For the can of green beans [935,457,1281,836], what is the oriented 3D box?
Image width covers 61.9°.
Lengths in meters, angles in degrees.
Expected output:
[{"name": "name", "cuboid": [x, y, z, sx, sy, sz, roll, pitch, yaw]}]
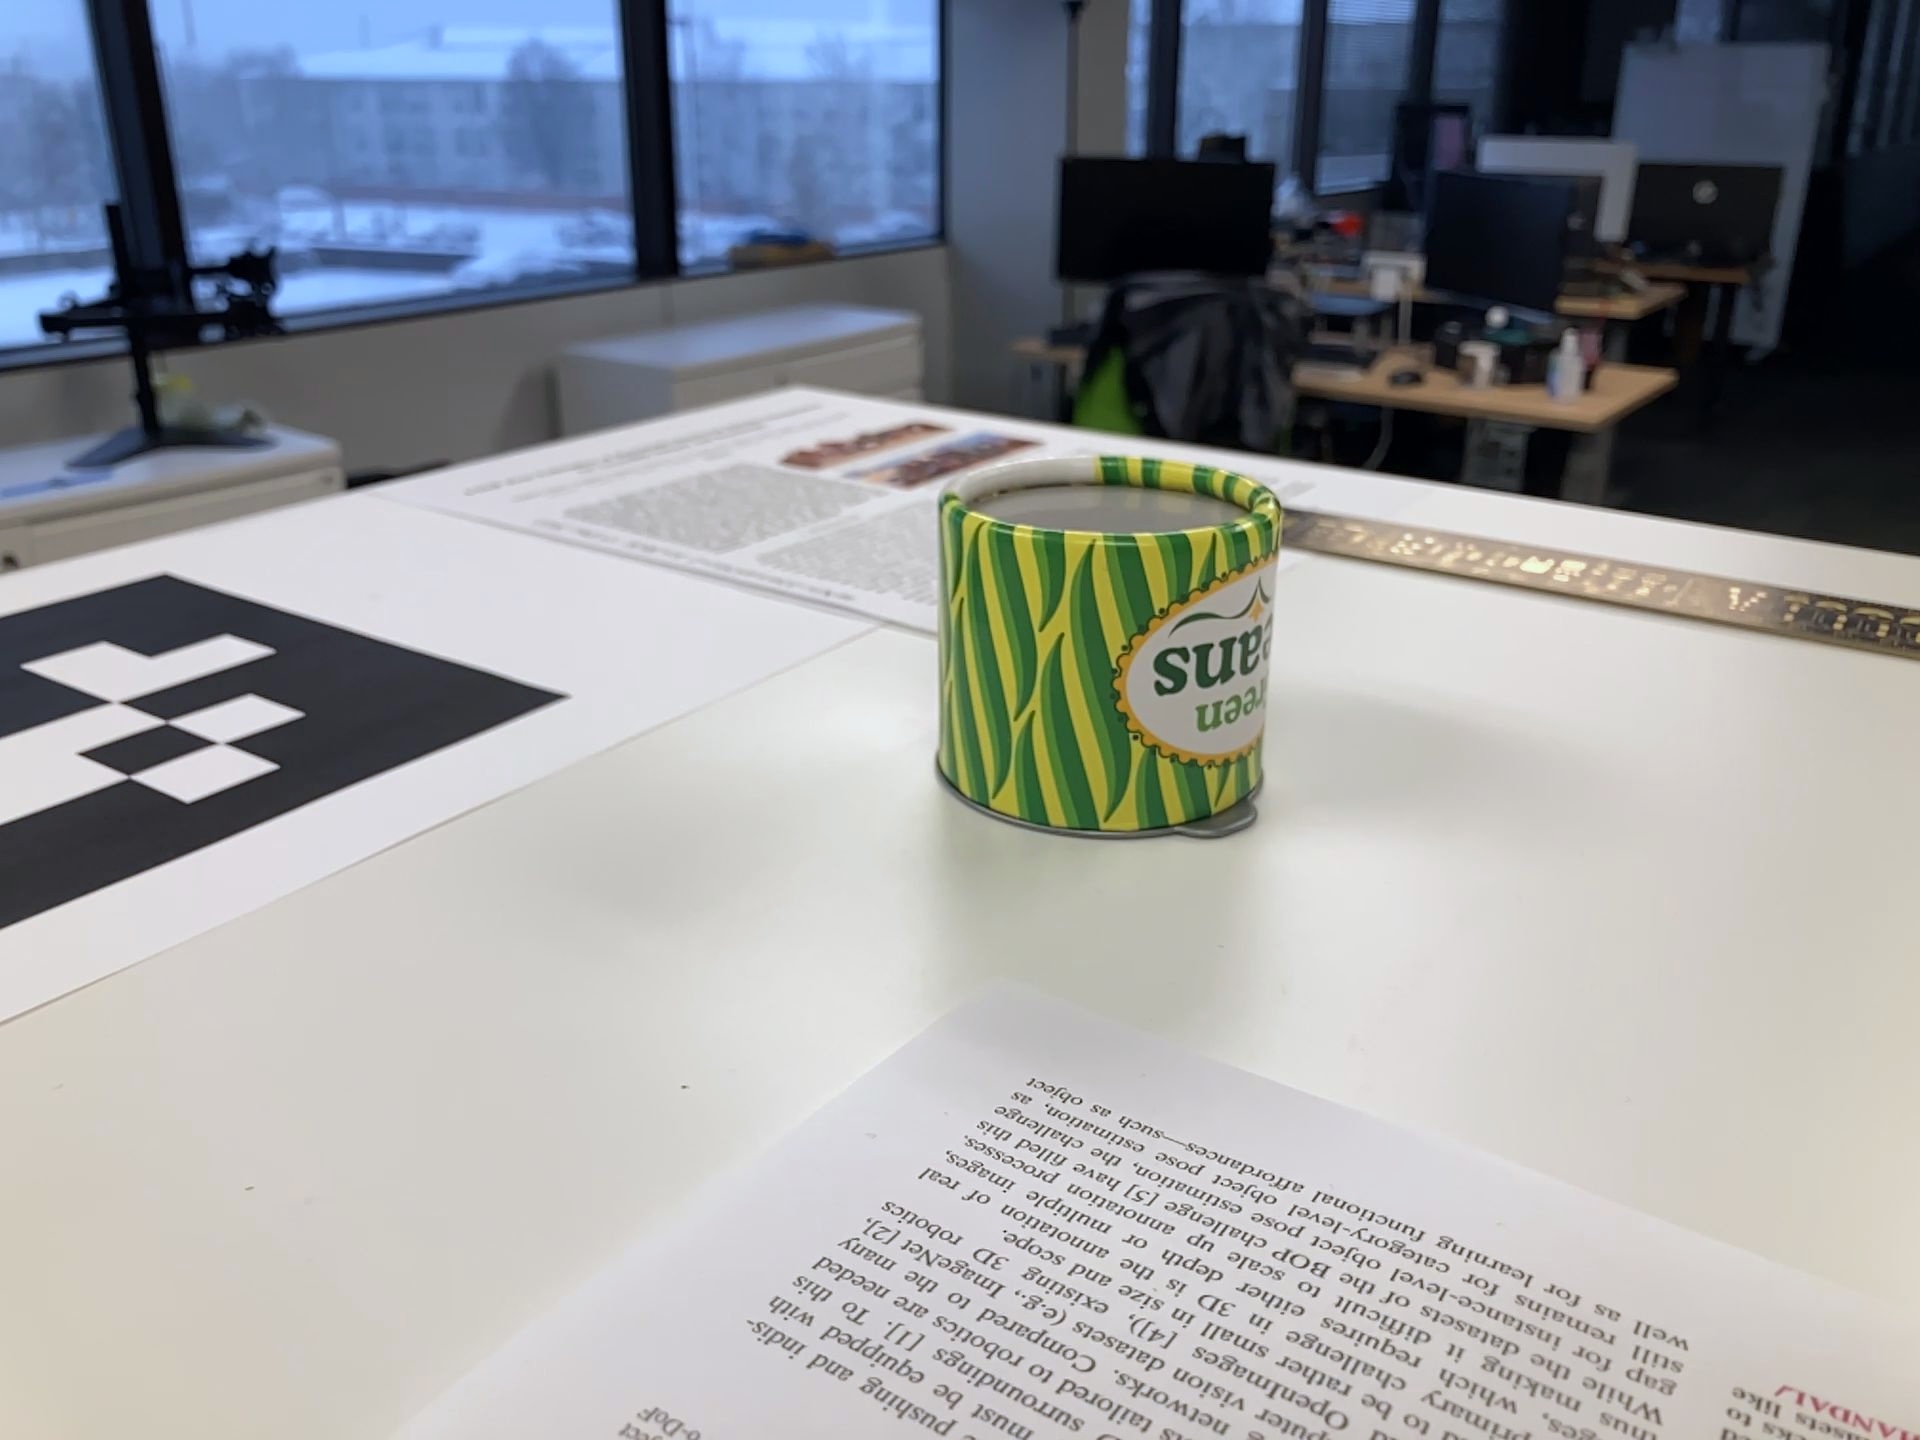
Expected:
[{"name": "can of green beans", "cuboid": [0.028, -0.017, 0.316, 0.071, 0.058, 0.071, 0, 21, 0]}]
